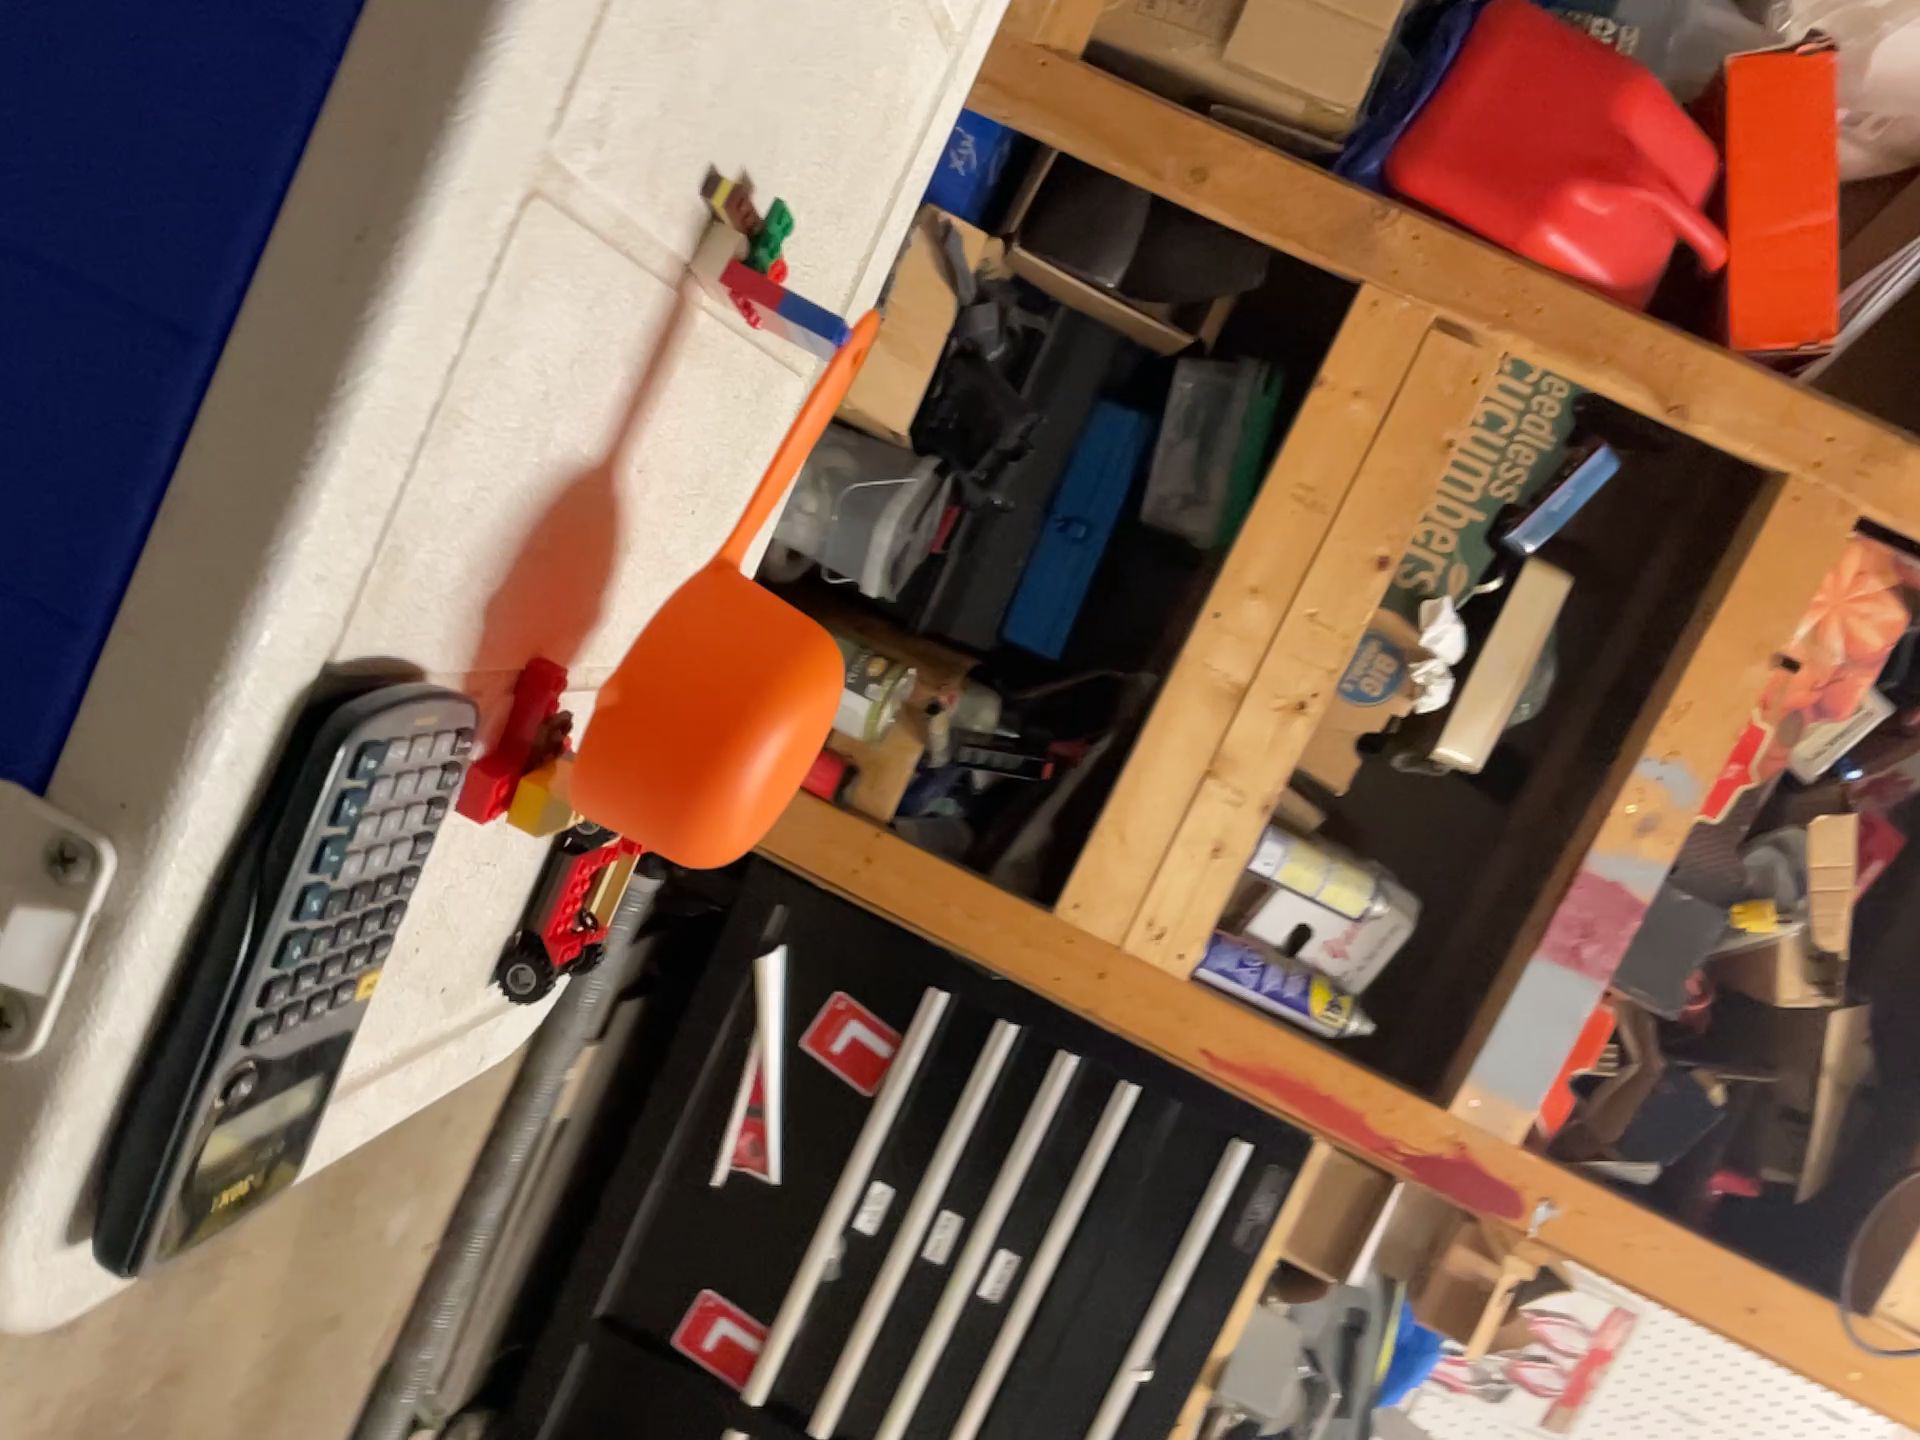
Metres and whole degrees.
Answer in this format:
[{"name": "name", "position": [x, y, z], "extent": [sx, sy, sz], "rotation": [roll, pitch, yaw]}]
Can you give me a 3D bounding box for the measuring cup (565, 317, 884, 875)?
[{"name": "measuring cup", "position": [-0.050, -0.033, 0.475], "extent": [0.173, 0.052, 0.095], "rotation": [-59, 175, 5]}]
